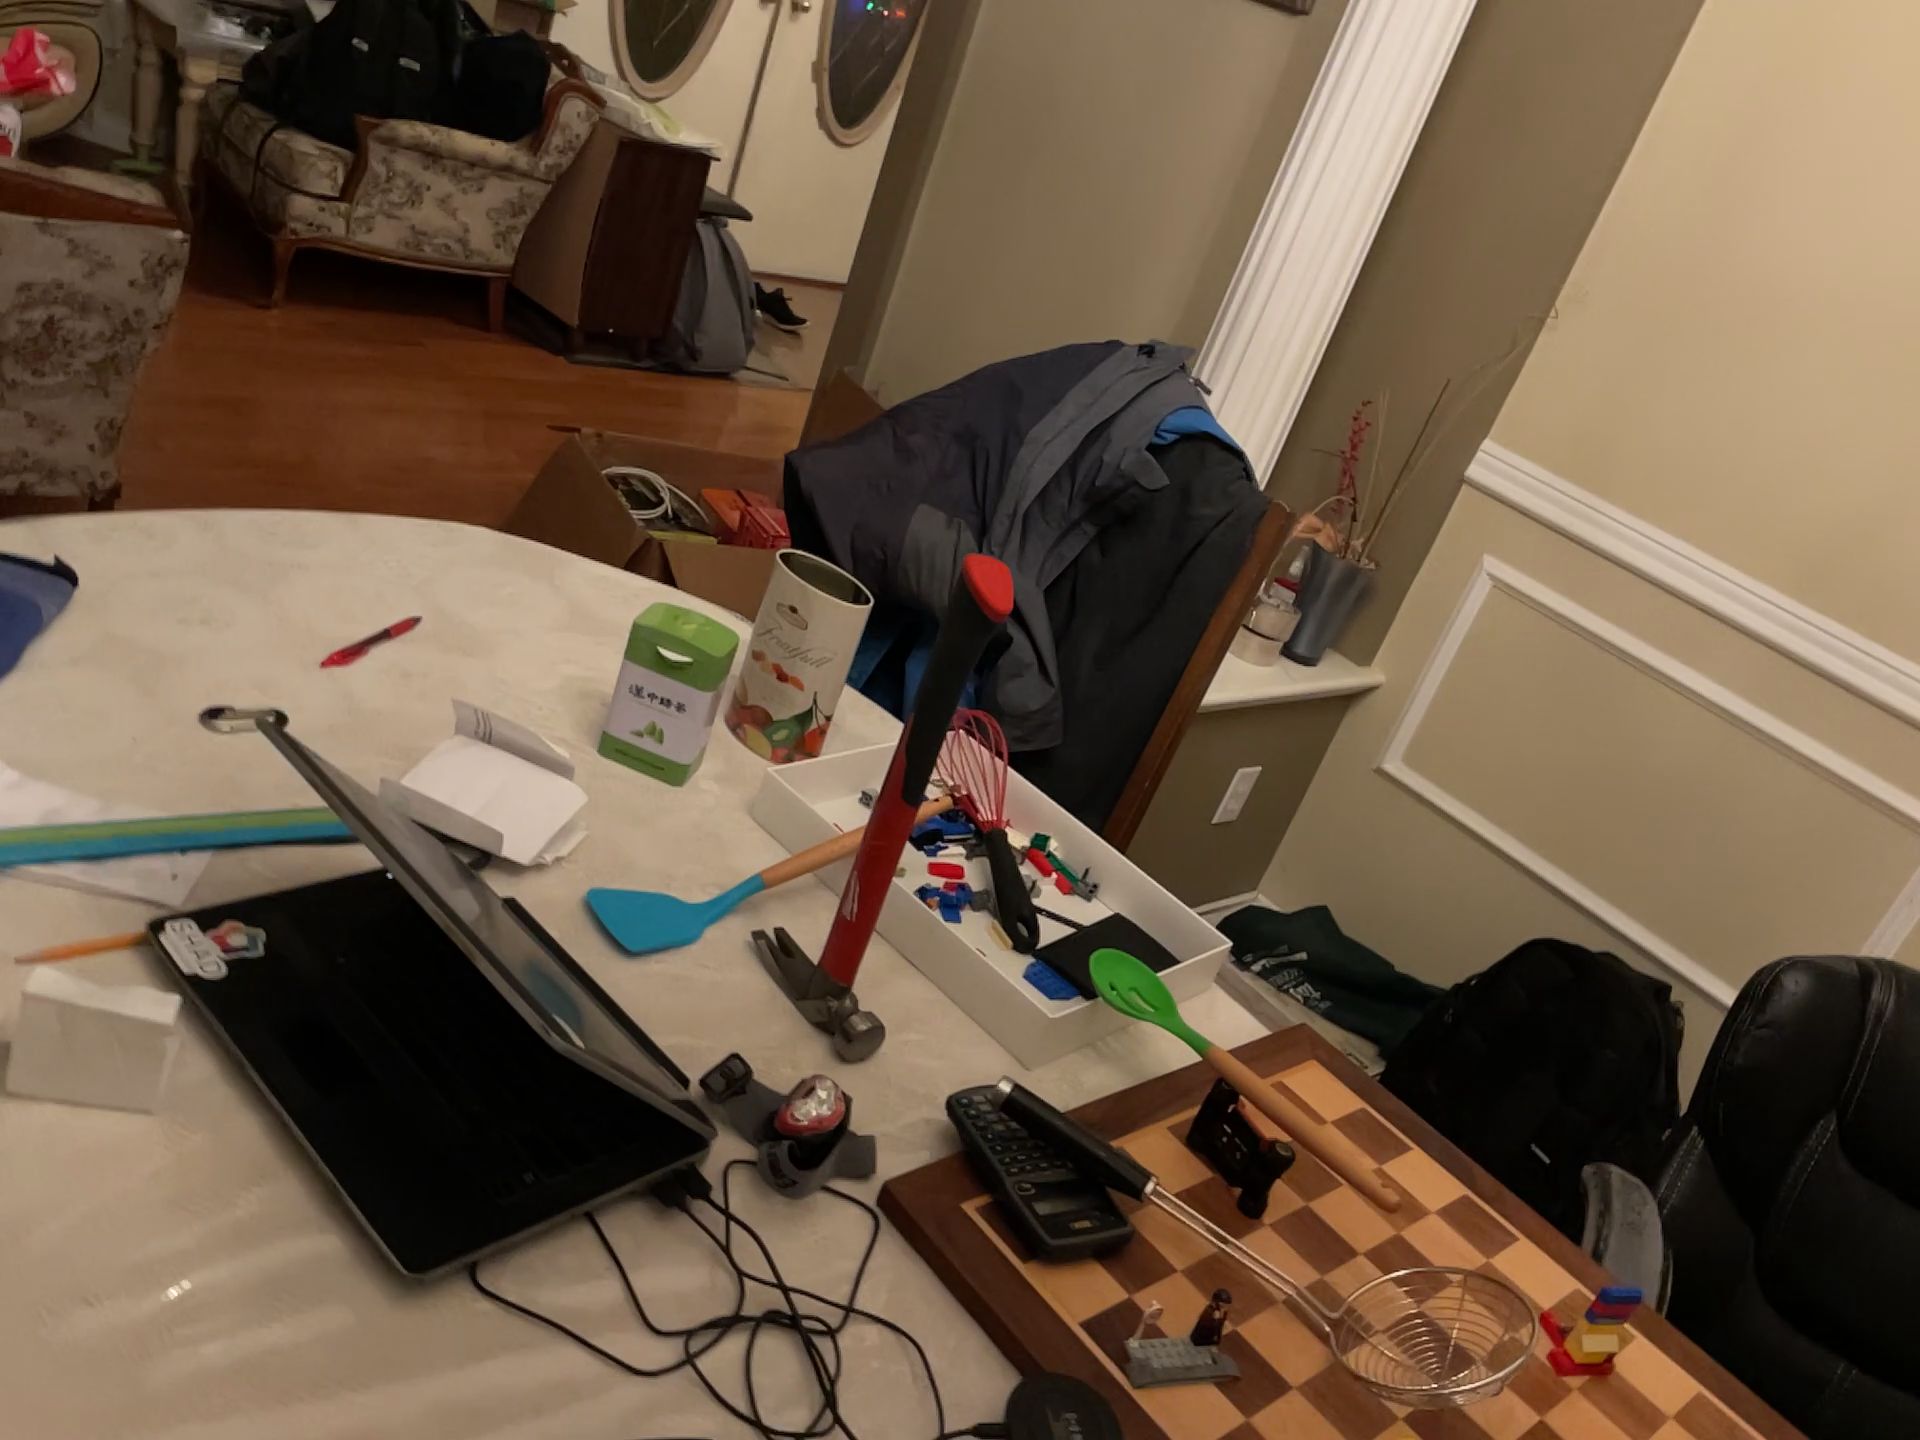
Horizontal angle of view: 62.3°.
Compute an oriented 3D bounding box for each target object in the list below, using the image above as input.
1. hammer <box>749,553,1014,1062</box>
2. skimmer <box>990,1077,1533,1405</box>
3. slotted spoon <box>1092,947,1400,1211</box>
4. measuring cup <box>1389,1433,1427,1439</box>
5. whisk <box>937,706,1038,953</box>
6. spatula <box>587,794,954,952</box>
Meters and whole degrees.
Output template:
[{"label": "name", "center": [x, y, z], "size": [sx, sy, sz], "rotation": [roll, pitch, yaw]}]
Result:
[{"label": "hammer", "center": [-0.053, 0.052, 1.130], "size": [0.038, 0.386, 0.143], "rotation": [-5, 35, -42]}, {"label": "skimmer", "center": [0.189, 0.323, 1.048], "size": [0.363, 0.090, 0.127], "rotation": [31, 28, 12]}, {"label": "slotted spoon", "center": [0.199, 0.257, 1.158], "size": [0.070, 0.031, 0.314], "rotation": [3, 21, -37]}, {"label": "measuring cup", "center": [0.237, 0.449, 0.930], "size": [0.062, 0.029, 0.156], "rotation": [36, 16, 36]}, {"label": "whisk", "center": [0.028, 0.093, 1.460], "size": [0.073, 0.073, 0.296], "rotation": [-5, 45, -10]}, {"label": "spatula", "center": [-0.138, 0.114, 1.281], "size": [0.317, 0.044, 0.083], "rotation": [-22, 43, -27]}]
